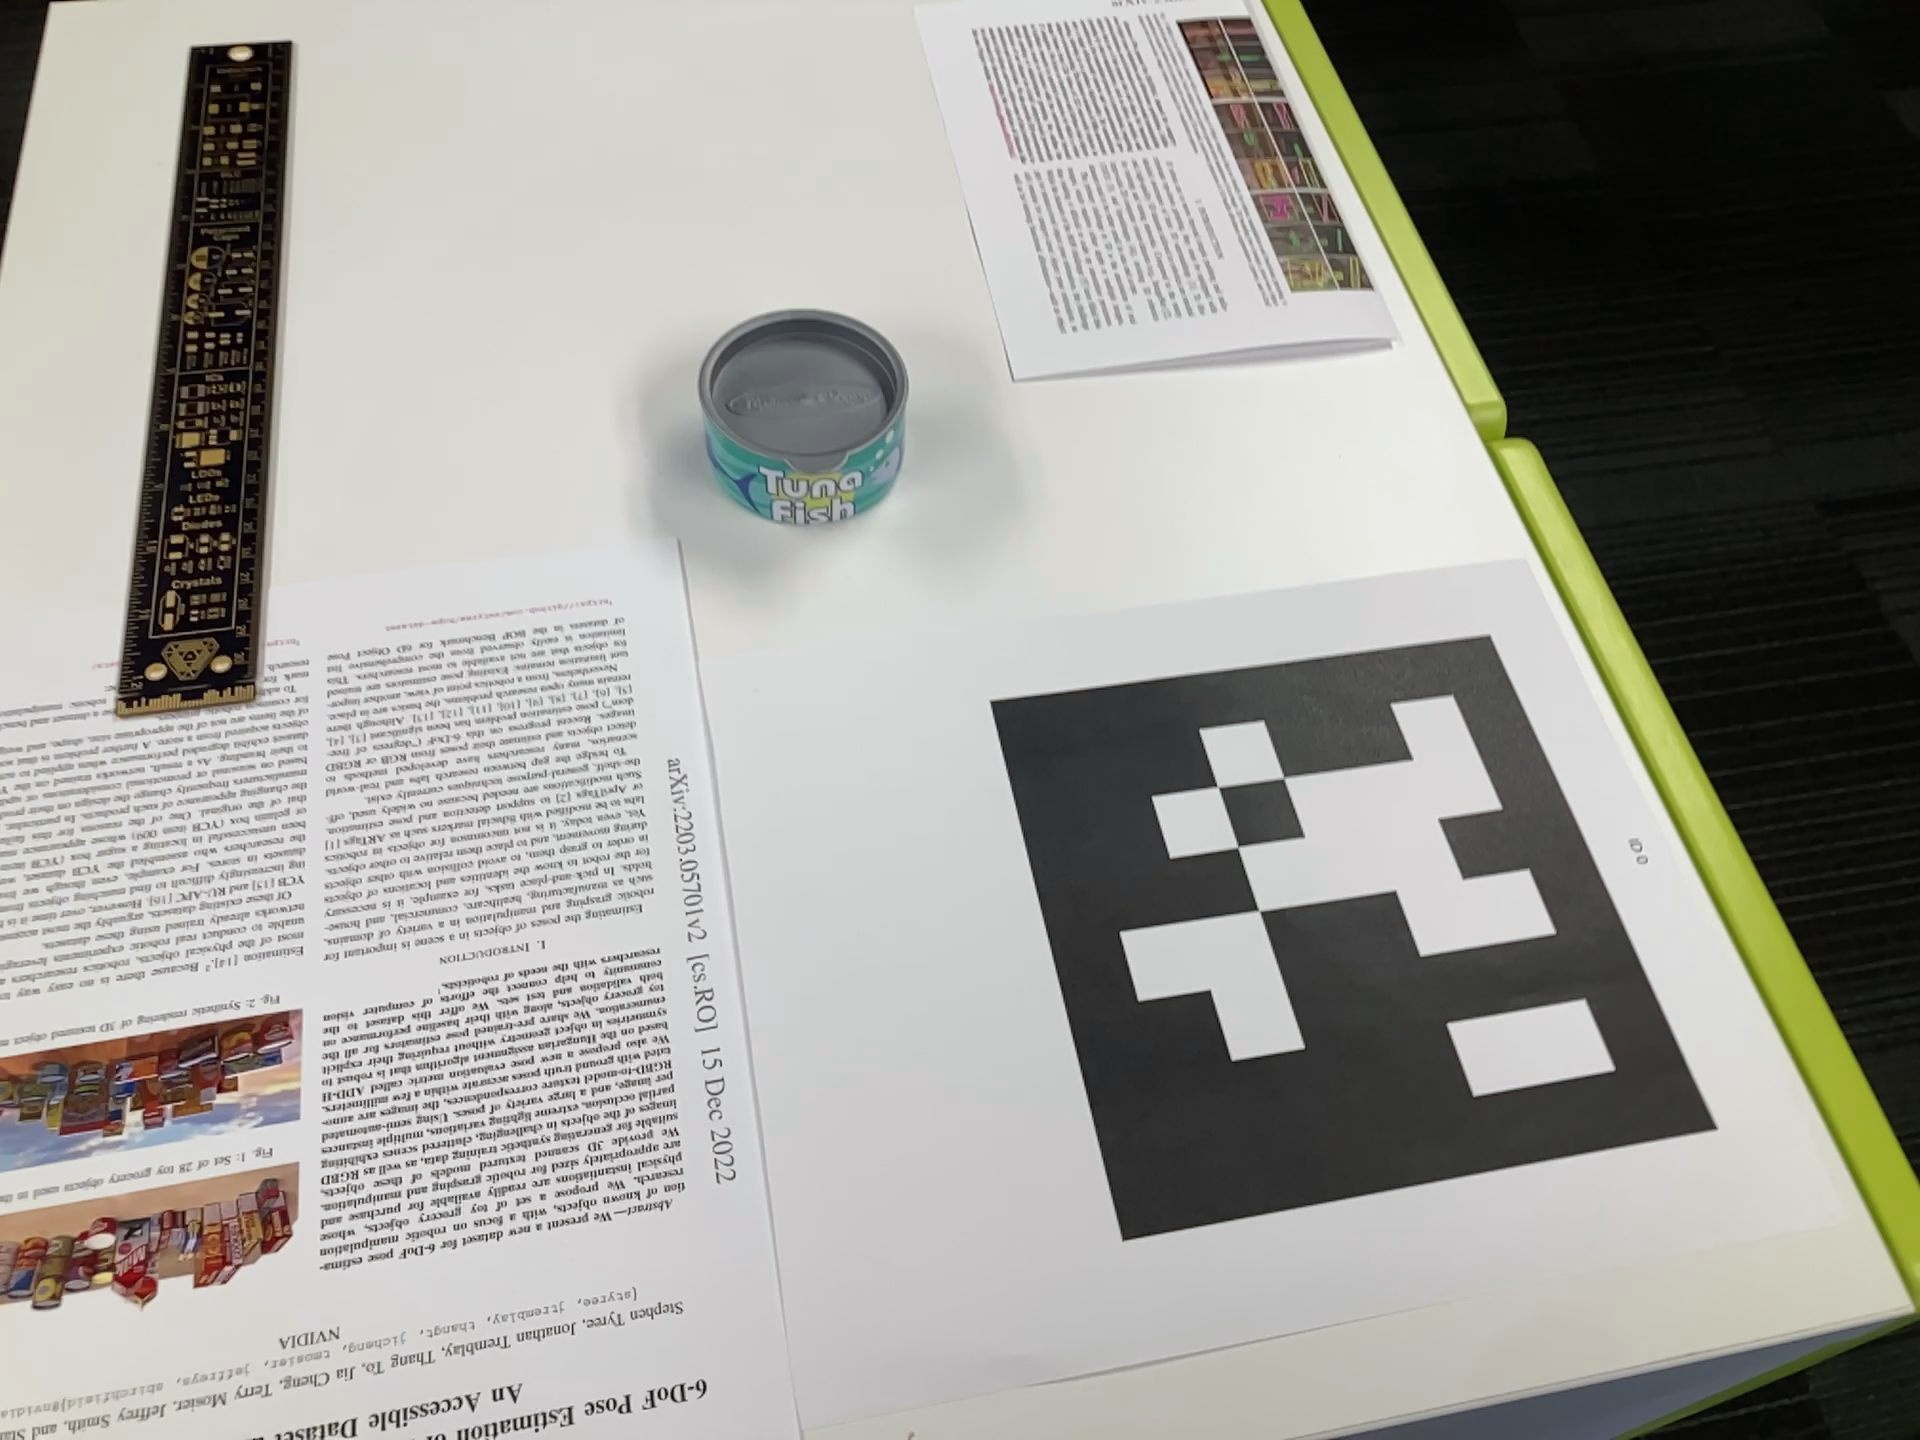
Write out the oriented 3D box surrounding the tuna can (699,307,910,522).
[{"bbox_3d":[-0.050,-0.097,0.512,0.071,0.033,0.071,2,57,-3],"label":"tuna can"}]
